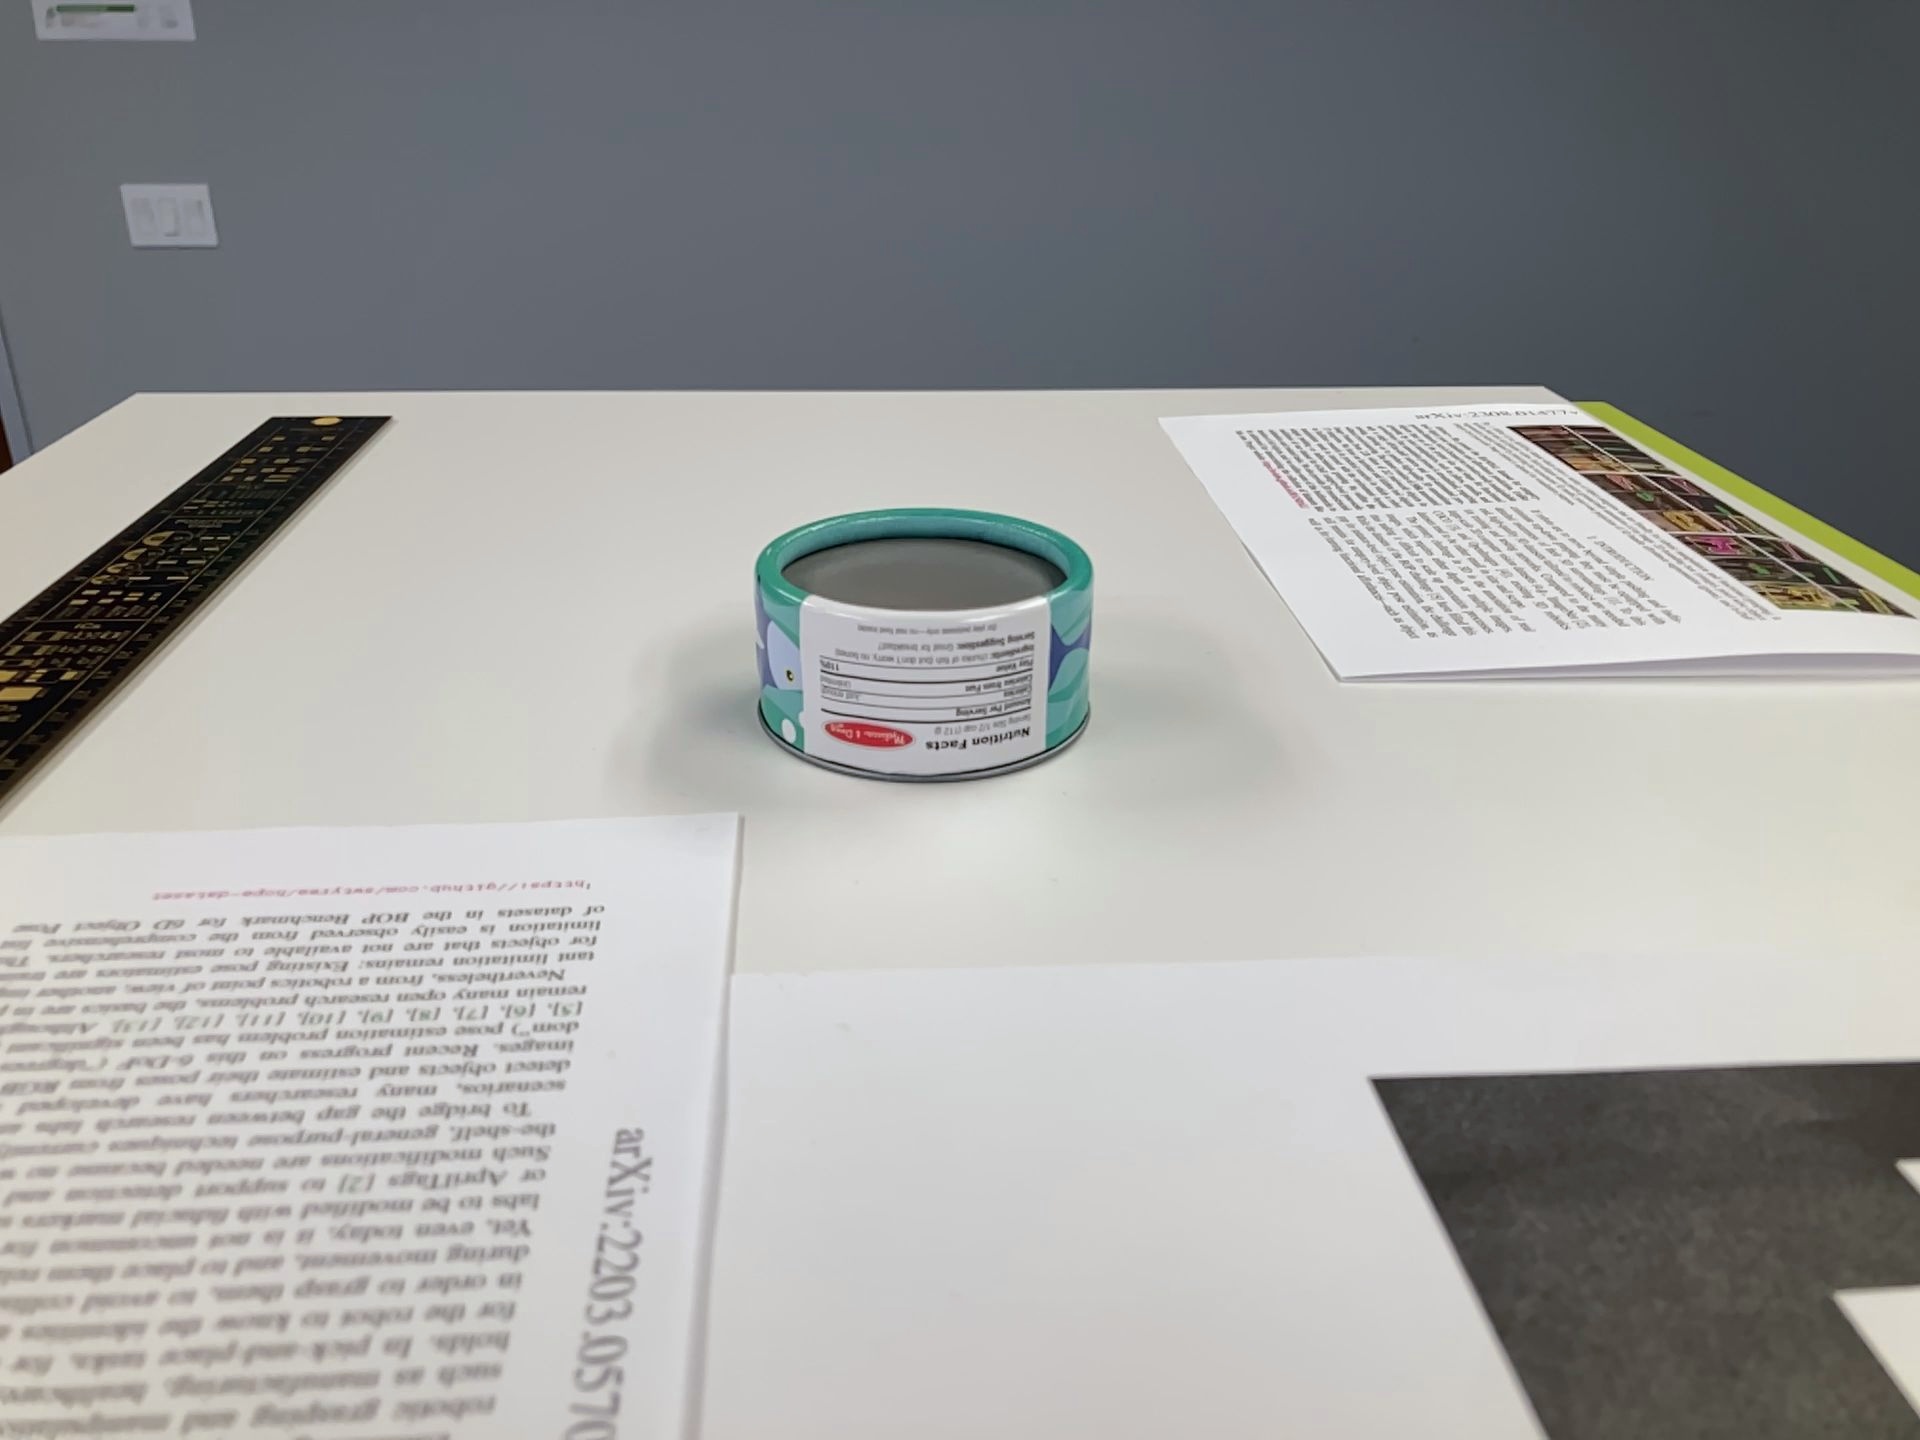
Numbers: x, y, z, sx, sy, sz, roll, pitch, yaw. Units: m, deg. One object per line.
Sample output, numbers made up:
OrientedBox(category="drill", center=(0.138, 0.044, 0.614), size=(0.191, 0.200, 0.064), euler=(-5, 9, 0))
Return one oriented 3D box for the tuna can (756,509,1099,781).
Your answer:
OrientedBox(category="tuna can", center=(-0.006, -0.018, 0.310), size=(0.071, 0.033, 0.071), euler=(2, 24, -1))
